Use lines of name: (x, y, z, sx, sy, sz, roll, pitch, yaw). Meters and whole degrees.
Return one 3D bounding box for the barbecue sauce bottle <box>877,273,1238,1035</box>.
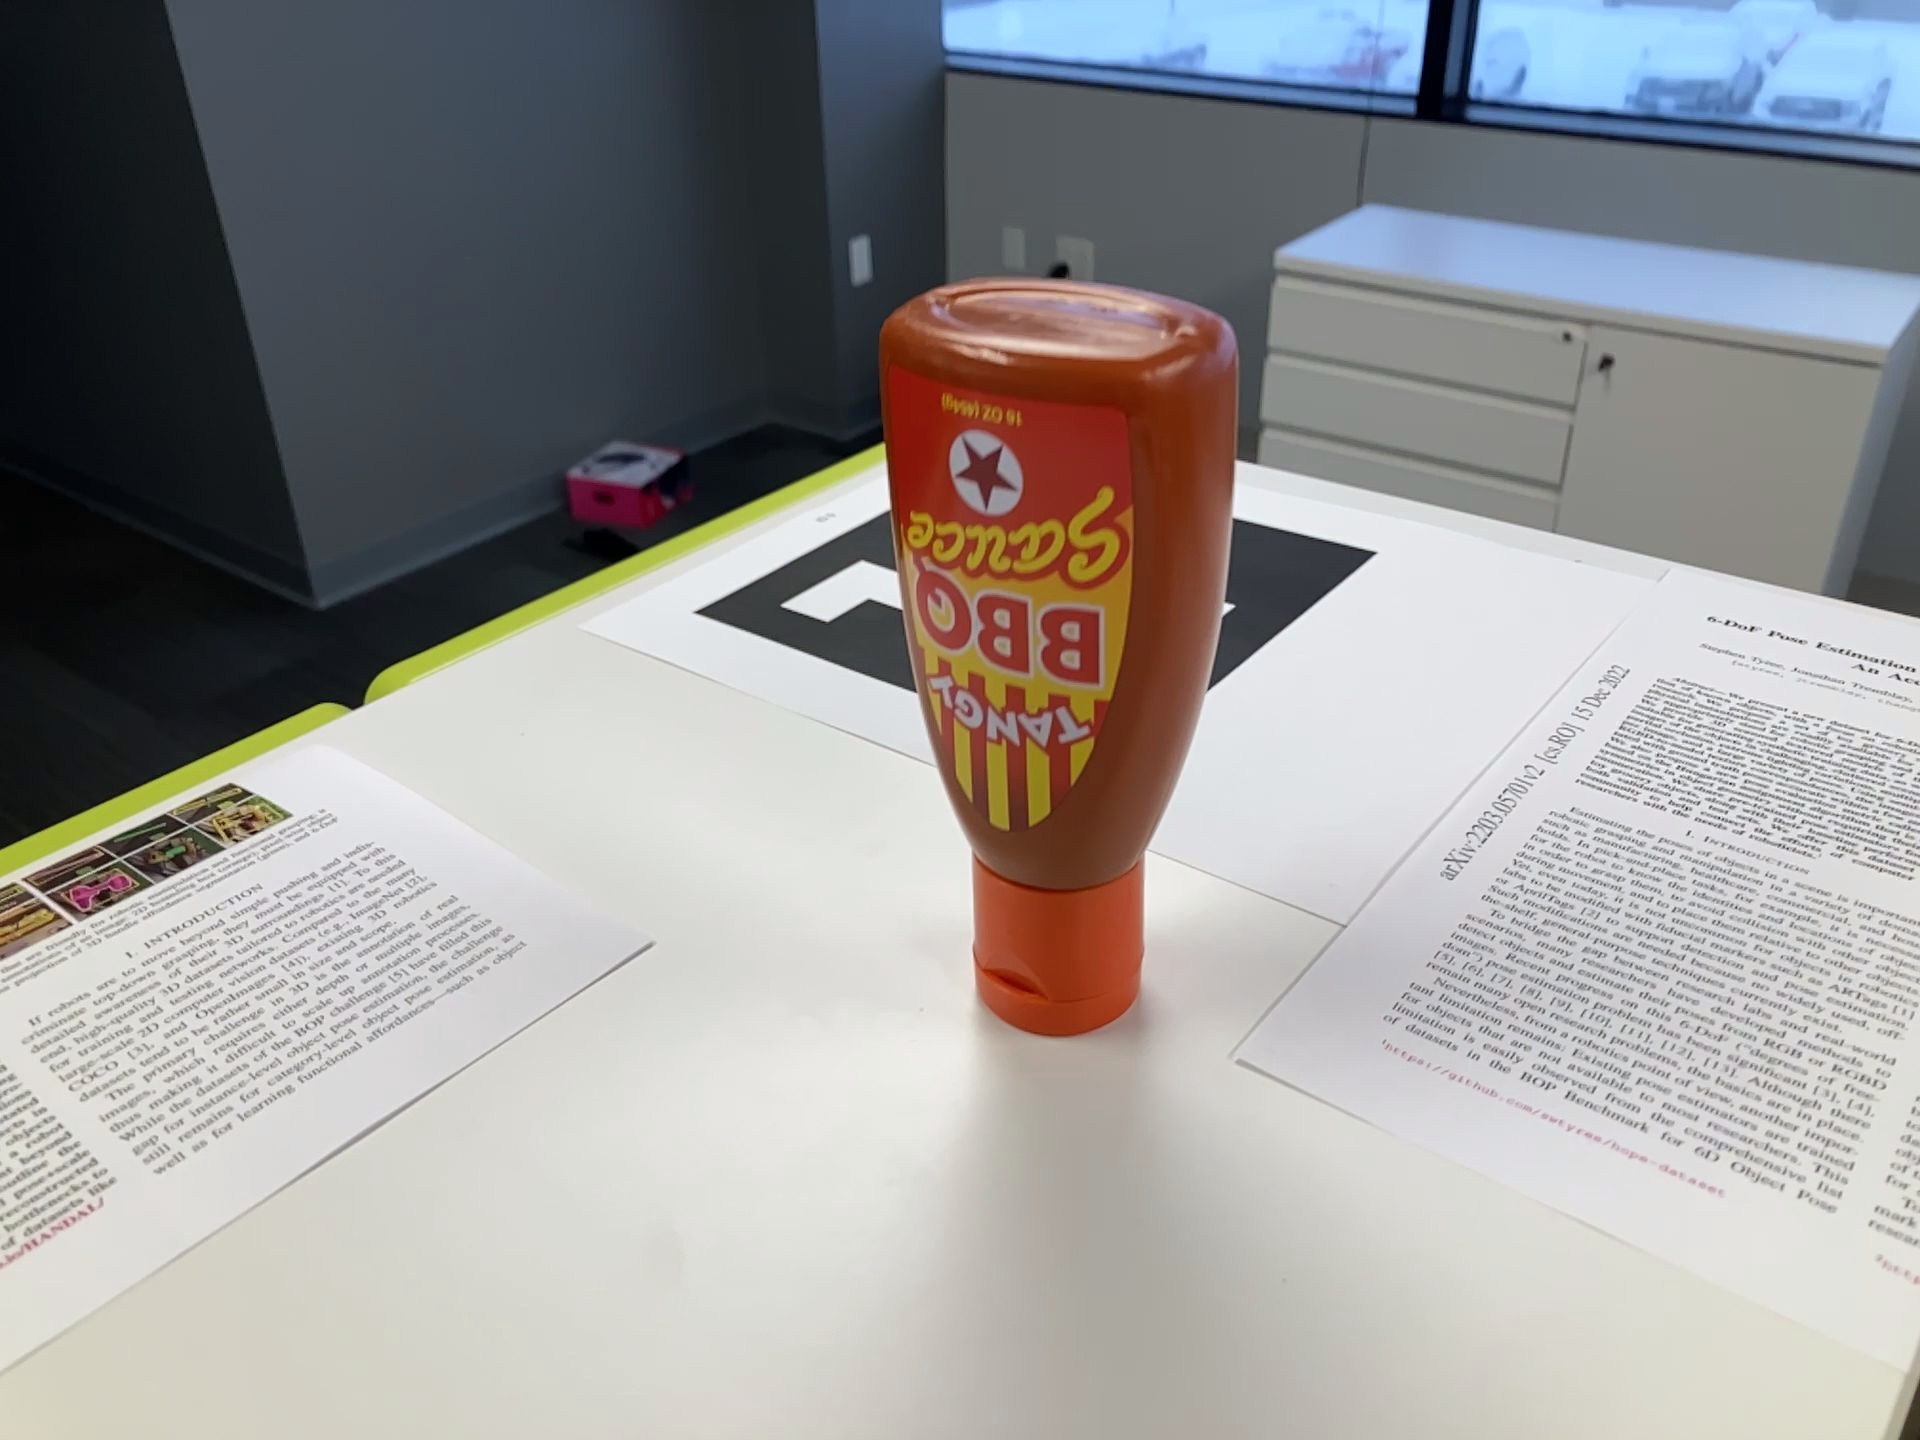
barbecue sauce bottle: (0.019, -0.007, 0.308, 0.065, 0.148, 0.043, 18, 36, 32)
